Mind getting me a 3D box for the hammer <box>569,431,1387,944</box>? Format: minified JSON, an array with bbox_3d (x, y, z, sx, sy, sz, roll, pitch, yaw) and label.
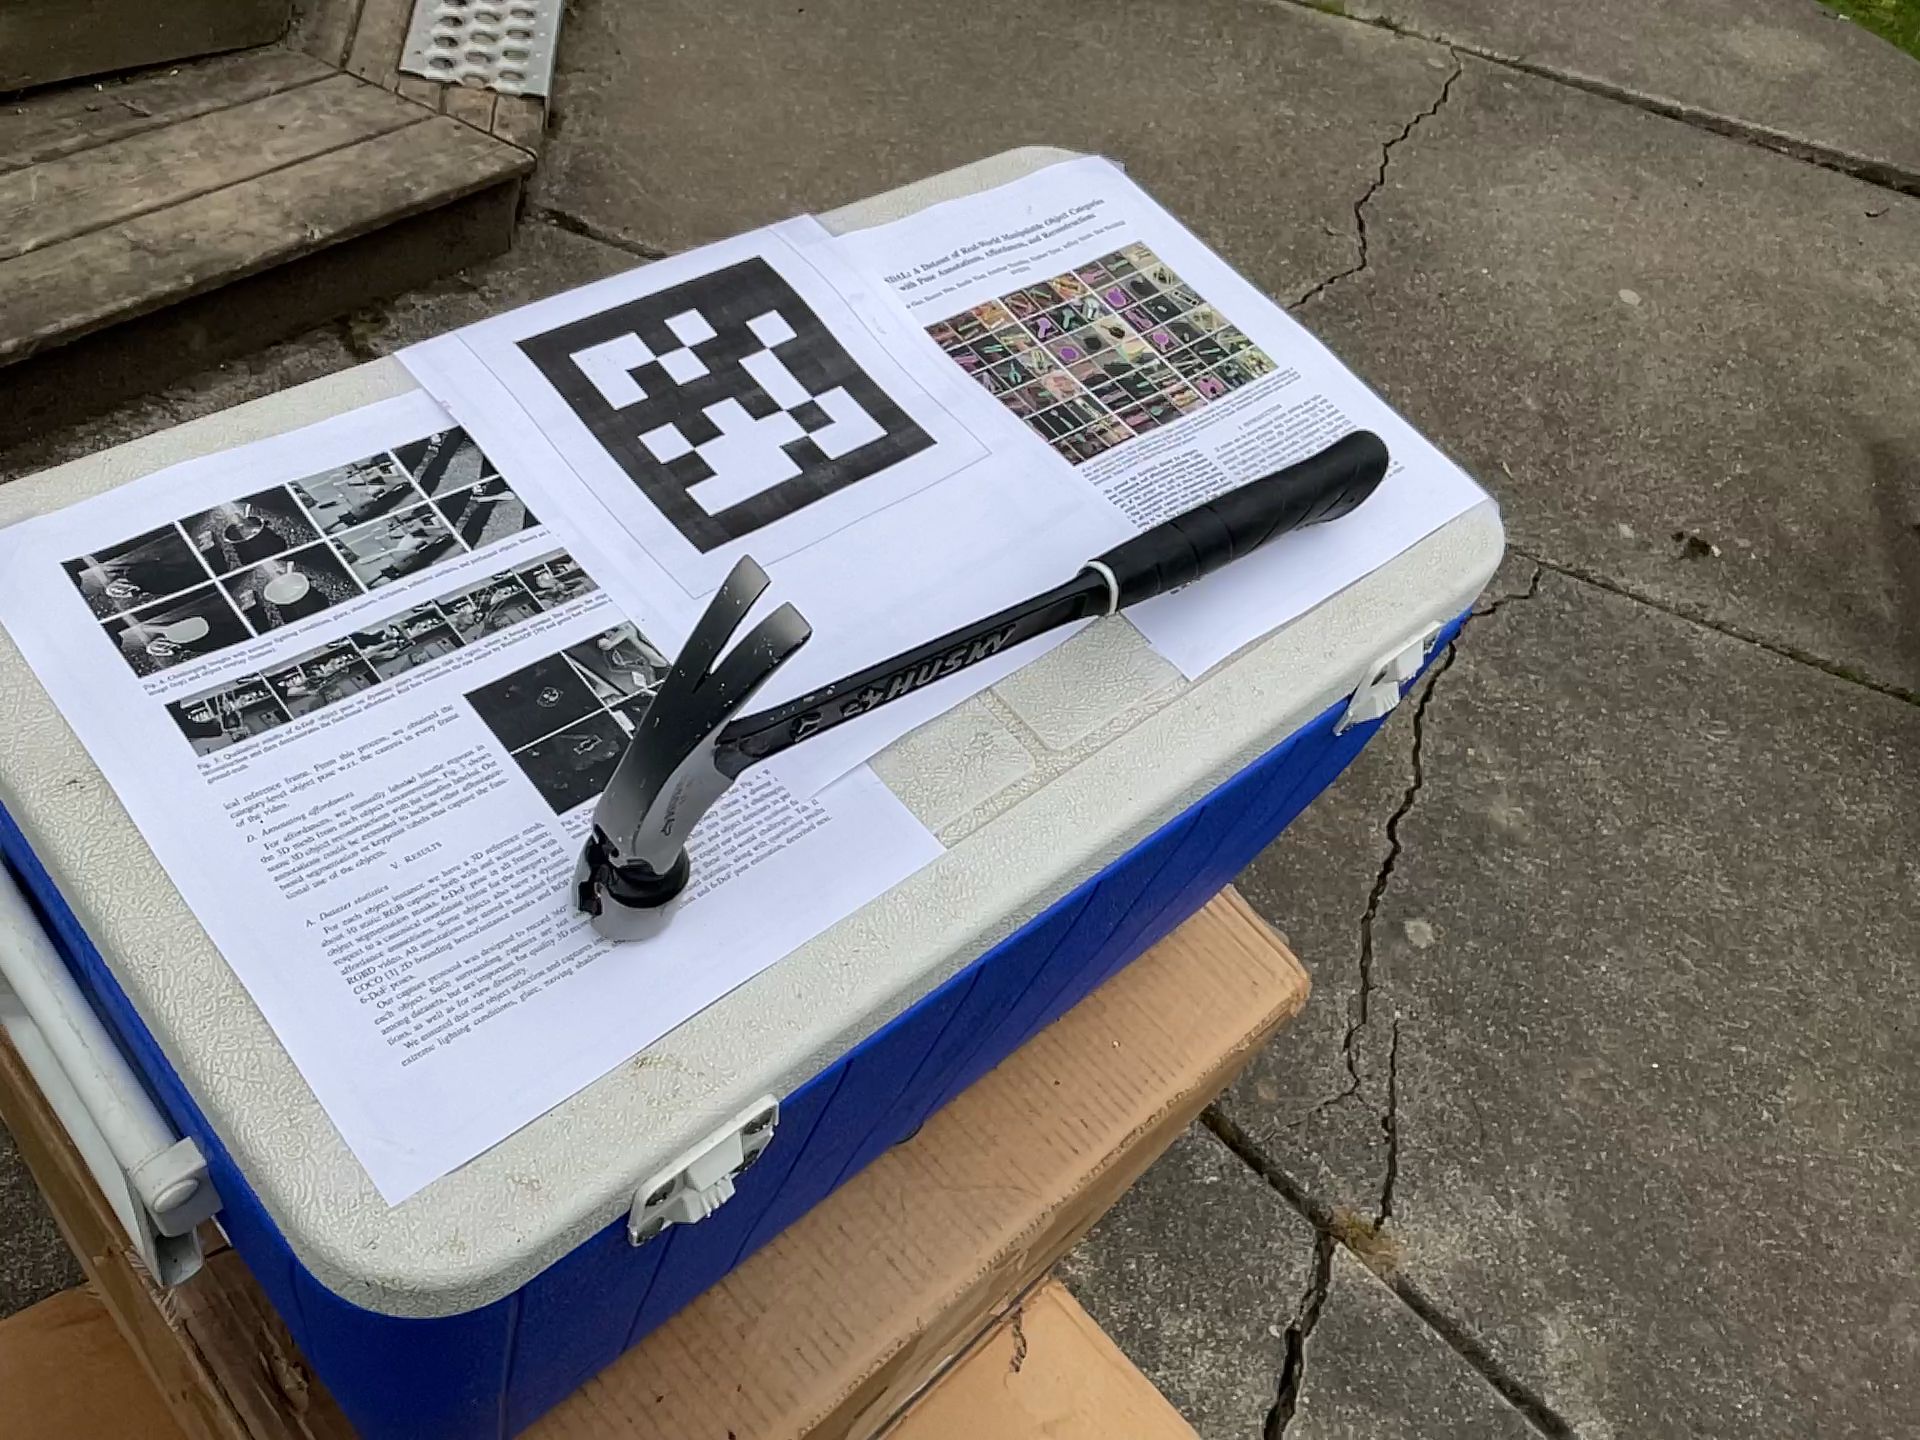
[{"bbox_3d":[0.041,-0.048,0.597,0.409,0.149,0.036,-26,67,-39],"label":"hammer"}]
